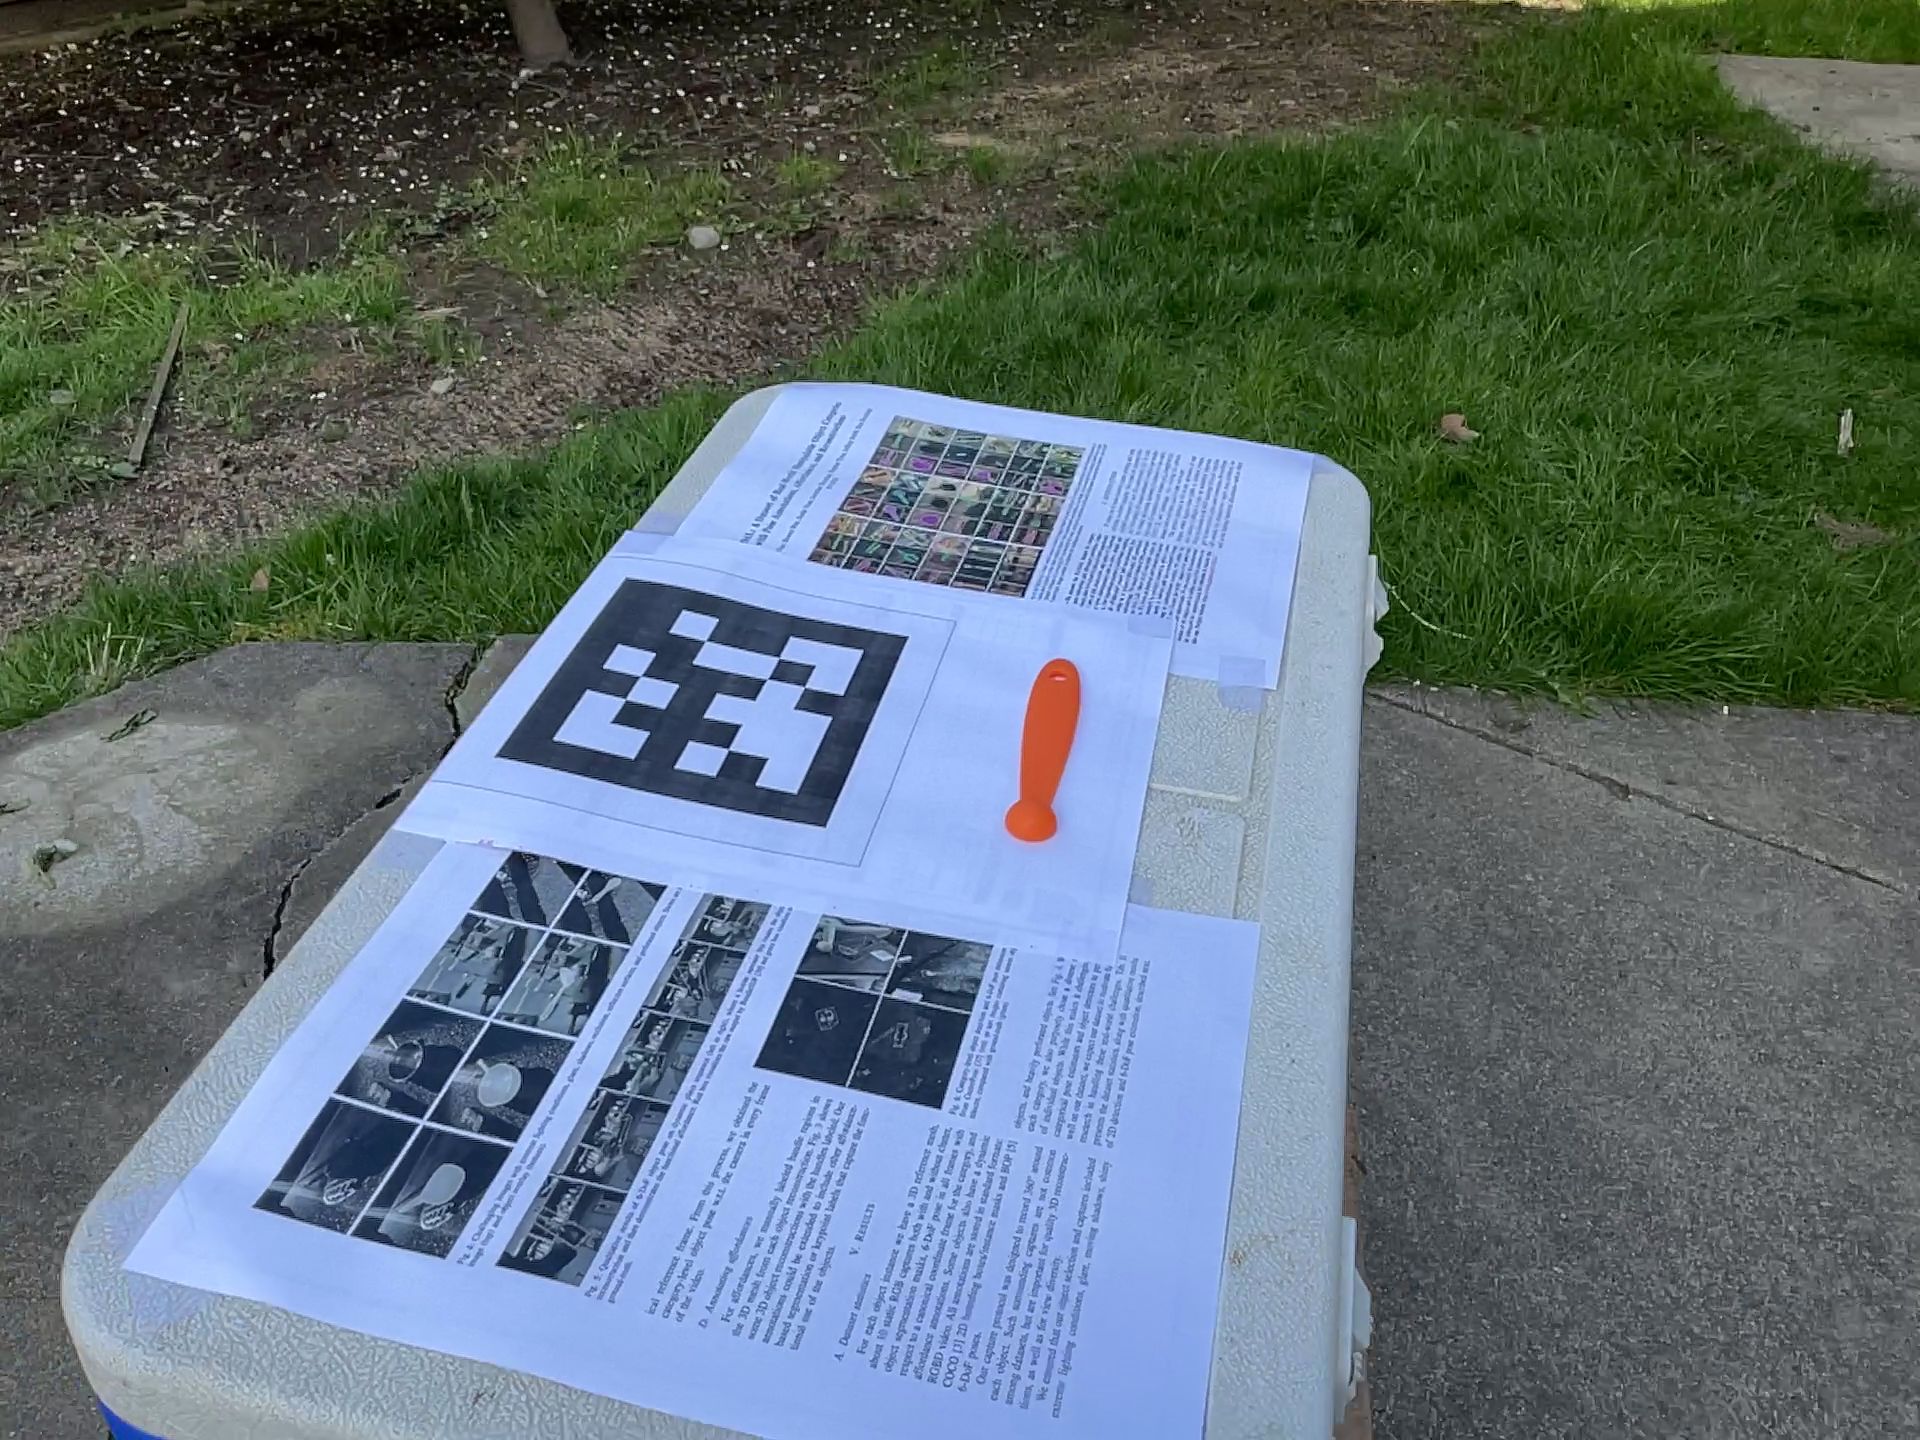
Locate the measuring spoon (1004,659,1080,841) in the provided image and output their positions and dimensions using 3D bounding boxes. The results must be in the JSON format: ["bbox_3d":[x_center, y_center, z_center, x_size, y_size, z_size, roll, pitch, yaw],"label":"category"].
[{"bbox_3d":[0.034,0.006,0.623,0.021,0.011,0.117,12,36,3],"label":"measuring spoon"}]
